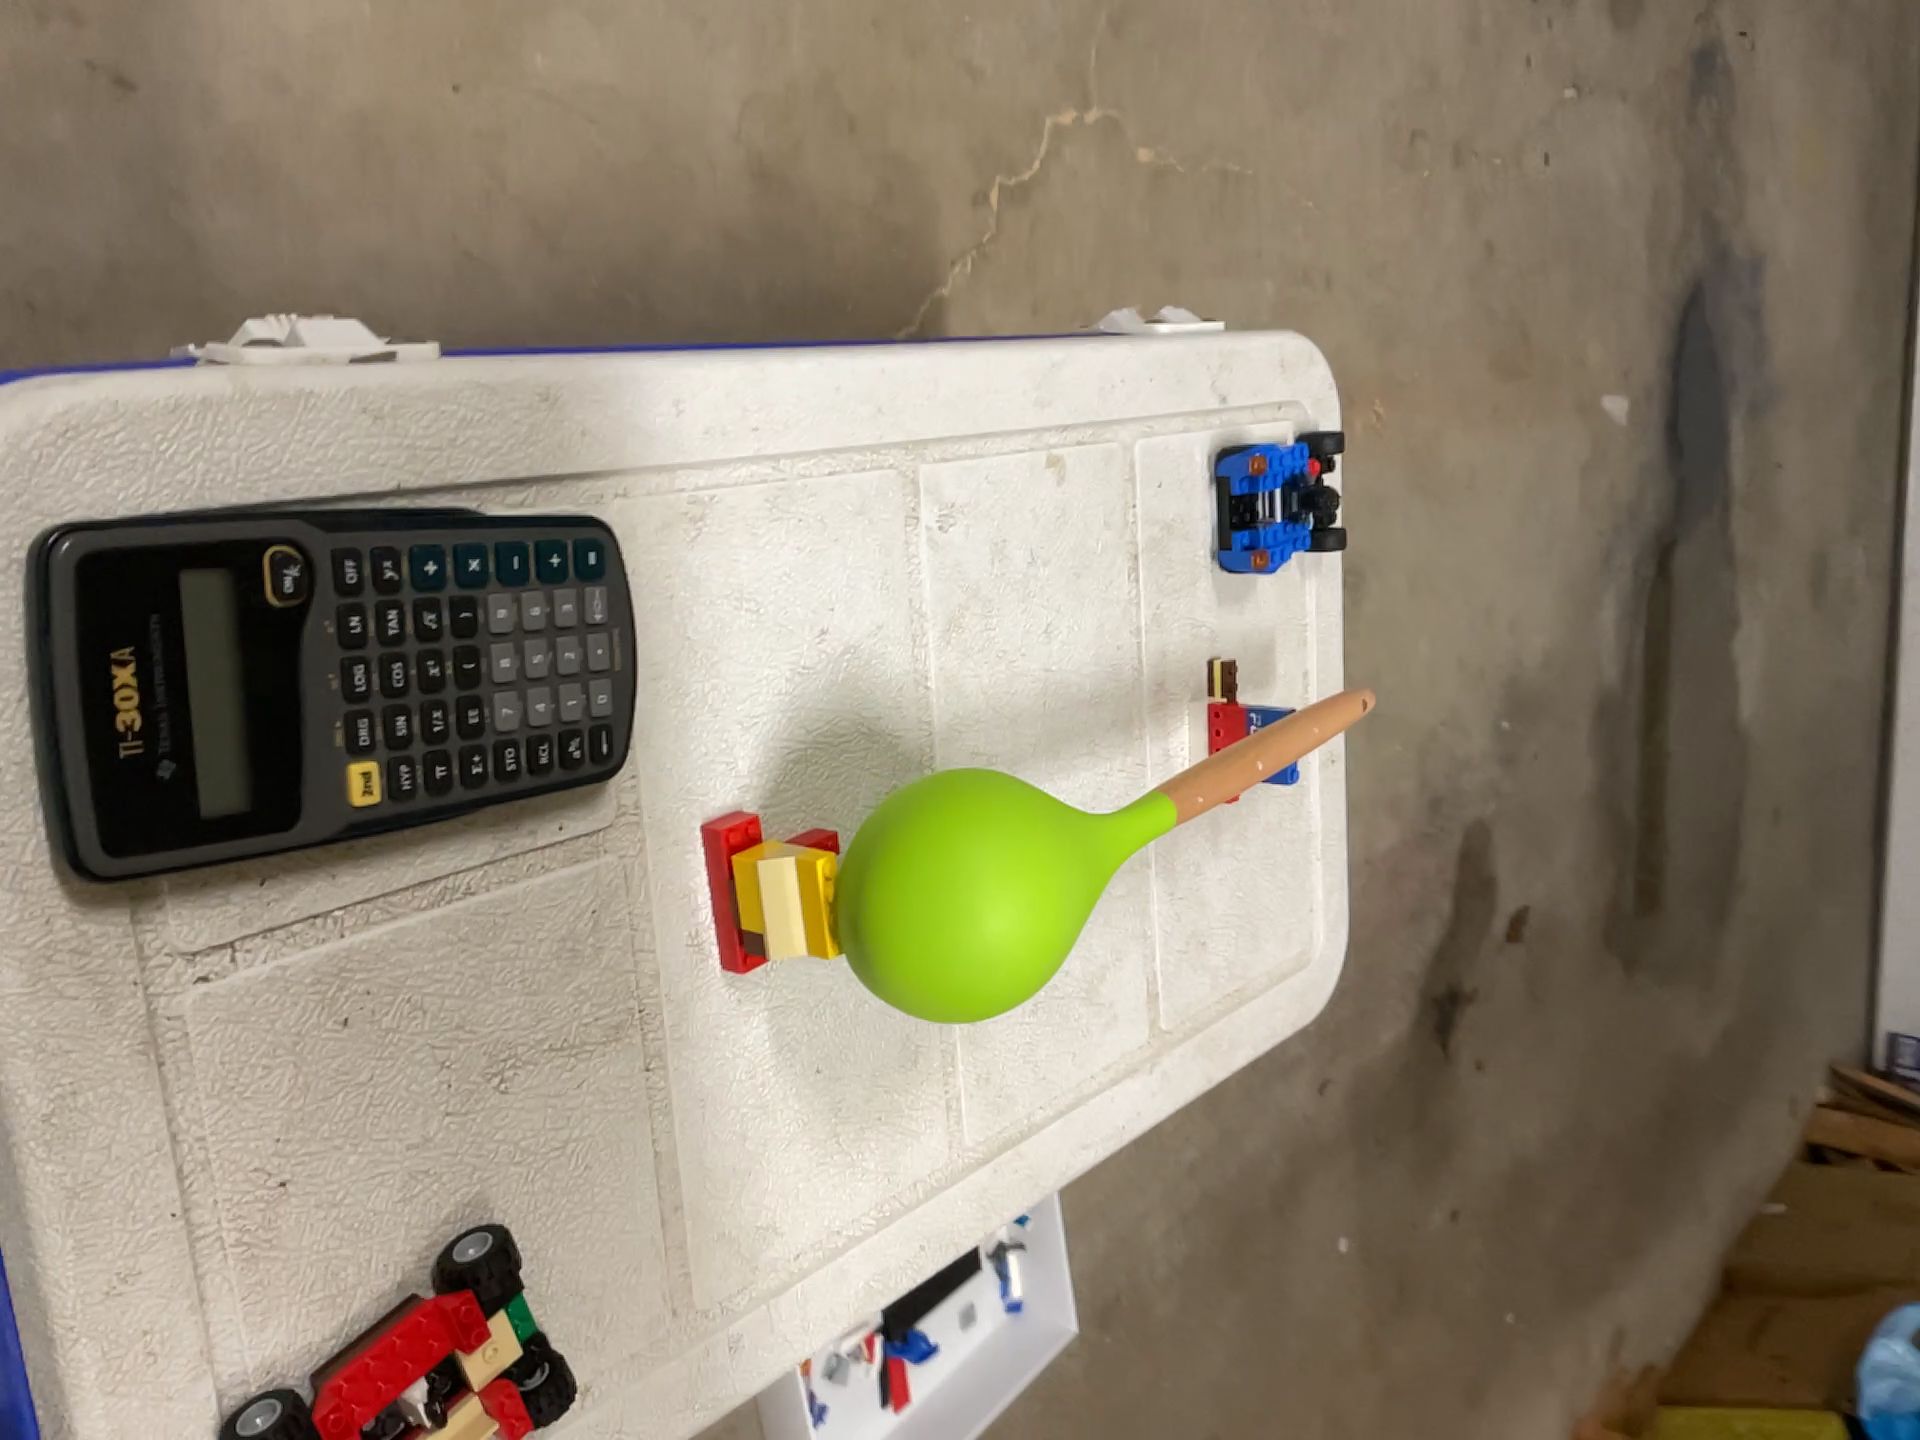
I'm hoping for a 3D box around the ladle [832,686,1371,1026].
[{"bbox_3d":[0.073,0.027,0.578,0.320,0.062,0.078,-21,105,-52],"label":"ladle"}]
